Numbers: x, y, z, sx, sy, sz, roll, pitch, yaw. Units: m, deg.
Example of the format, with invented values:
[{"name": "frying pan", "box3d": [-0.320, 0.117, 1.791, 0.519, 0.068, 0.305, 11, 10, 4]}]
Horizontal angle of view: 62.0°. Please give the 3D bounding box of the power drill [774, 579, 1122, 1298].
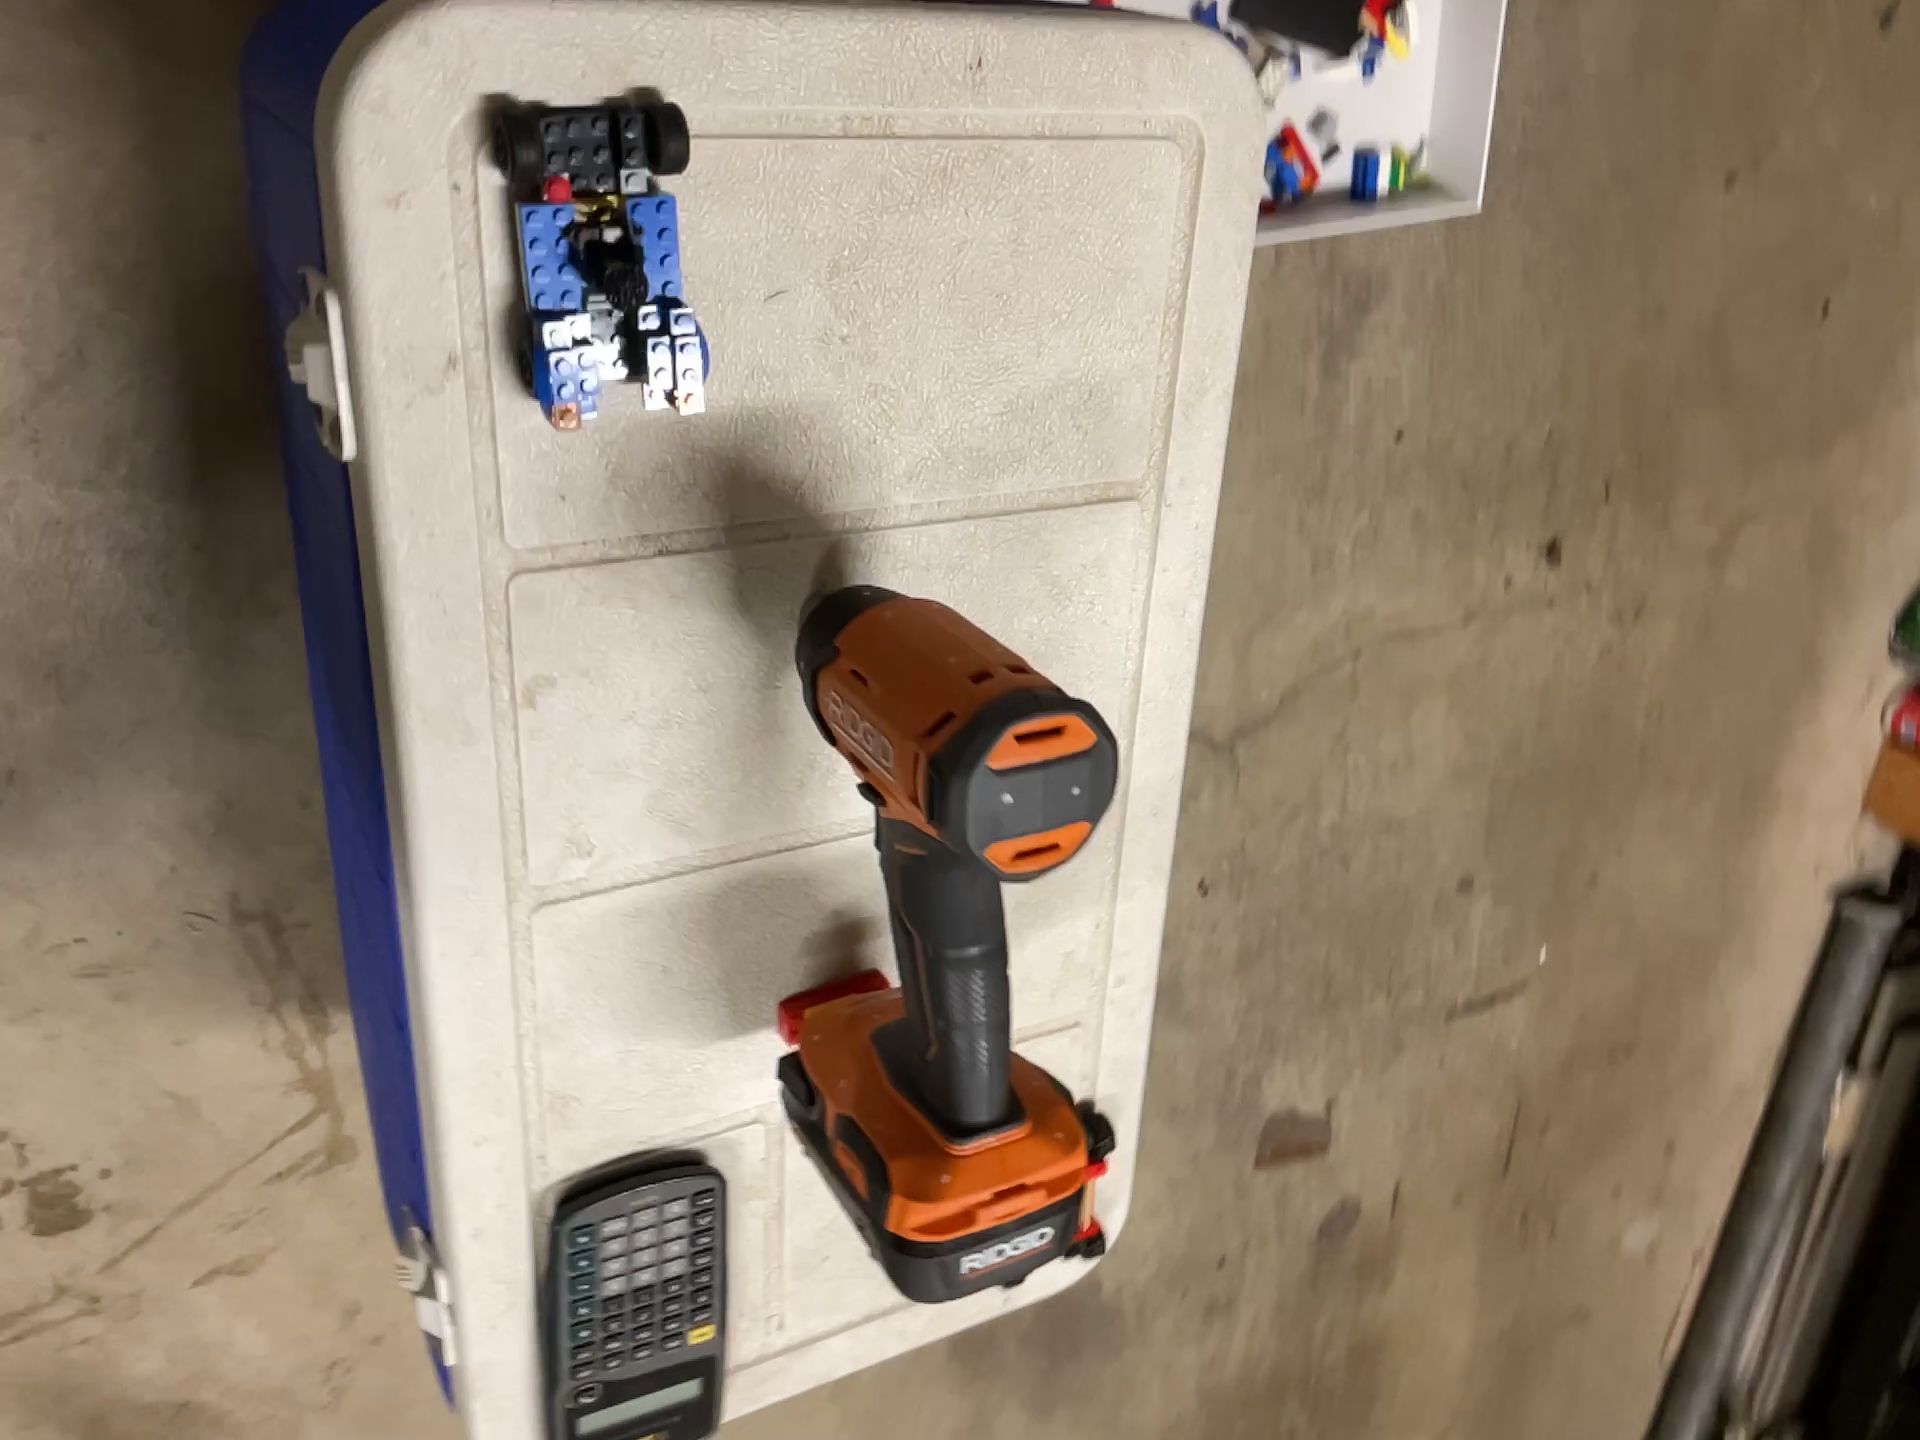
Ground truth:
[{"name": "power drill", "box3d": [-0.016, 0.065, 0.561, 0.084, 0.164, 0.226, -11, 119, -26]}]
